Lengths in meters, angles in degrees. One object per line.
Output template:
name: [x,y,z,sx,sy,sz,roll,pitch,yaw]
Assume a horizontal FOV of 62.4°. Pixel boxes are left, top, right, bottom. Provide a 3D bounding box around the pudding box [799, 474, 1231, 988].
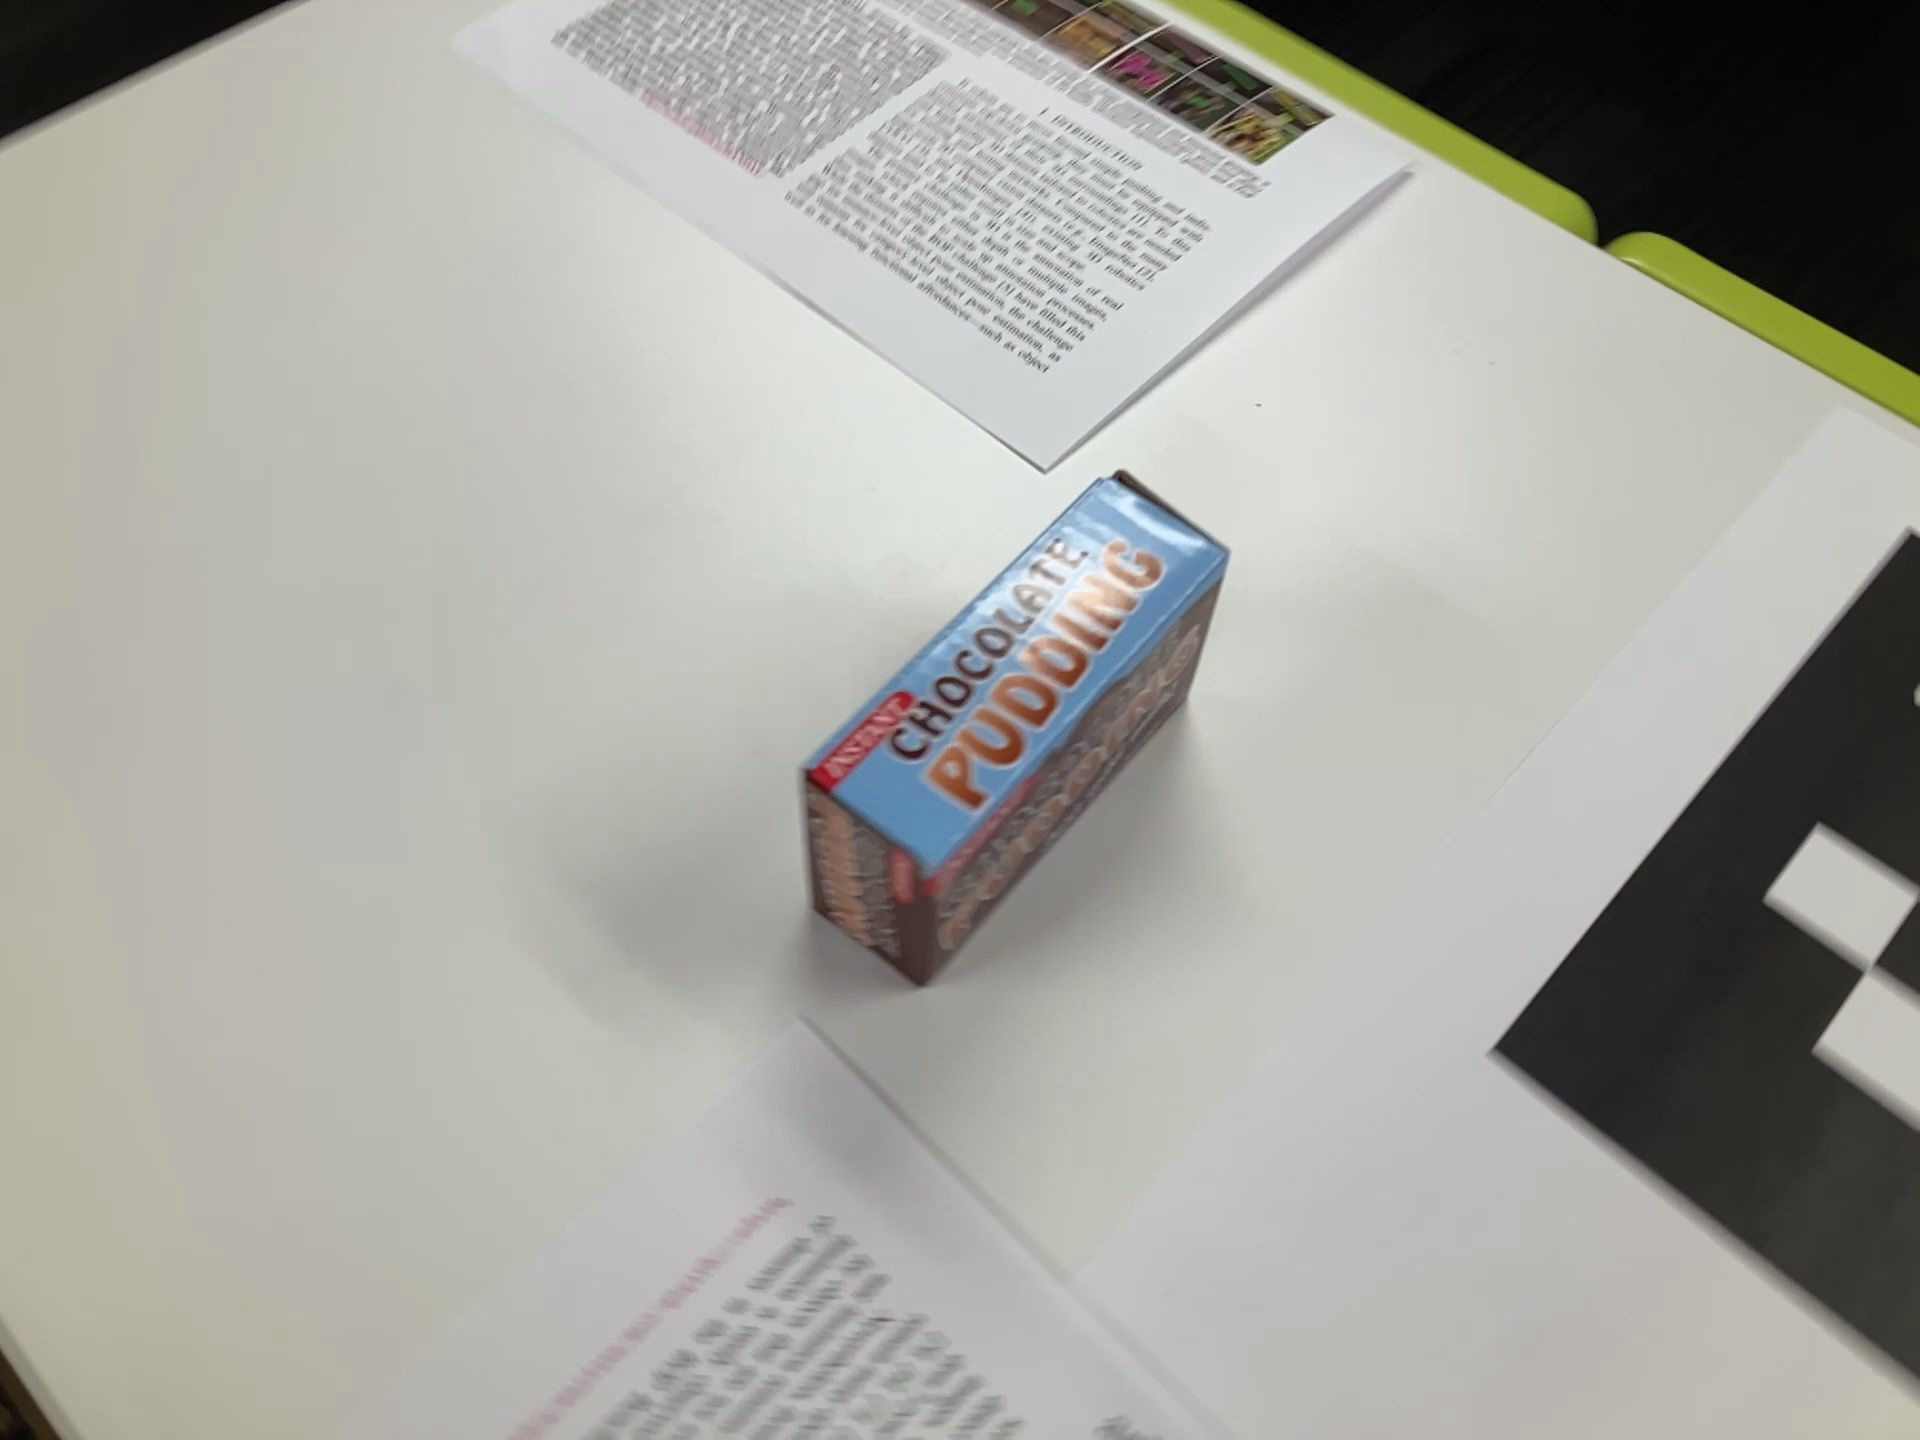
pudding box: [0.009,0.001,0.281,0.030,0.049,0.083,36,63,18]
